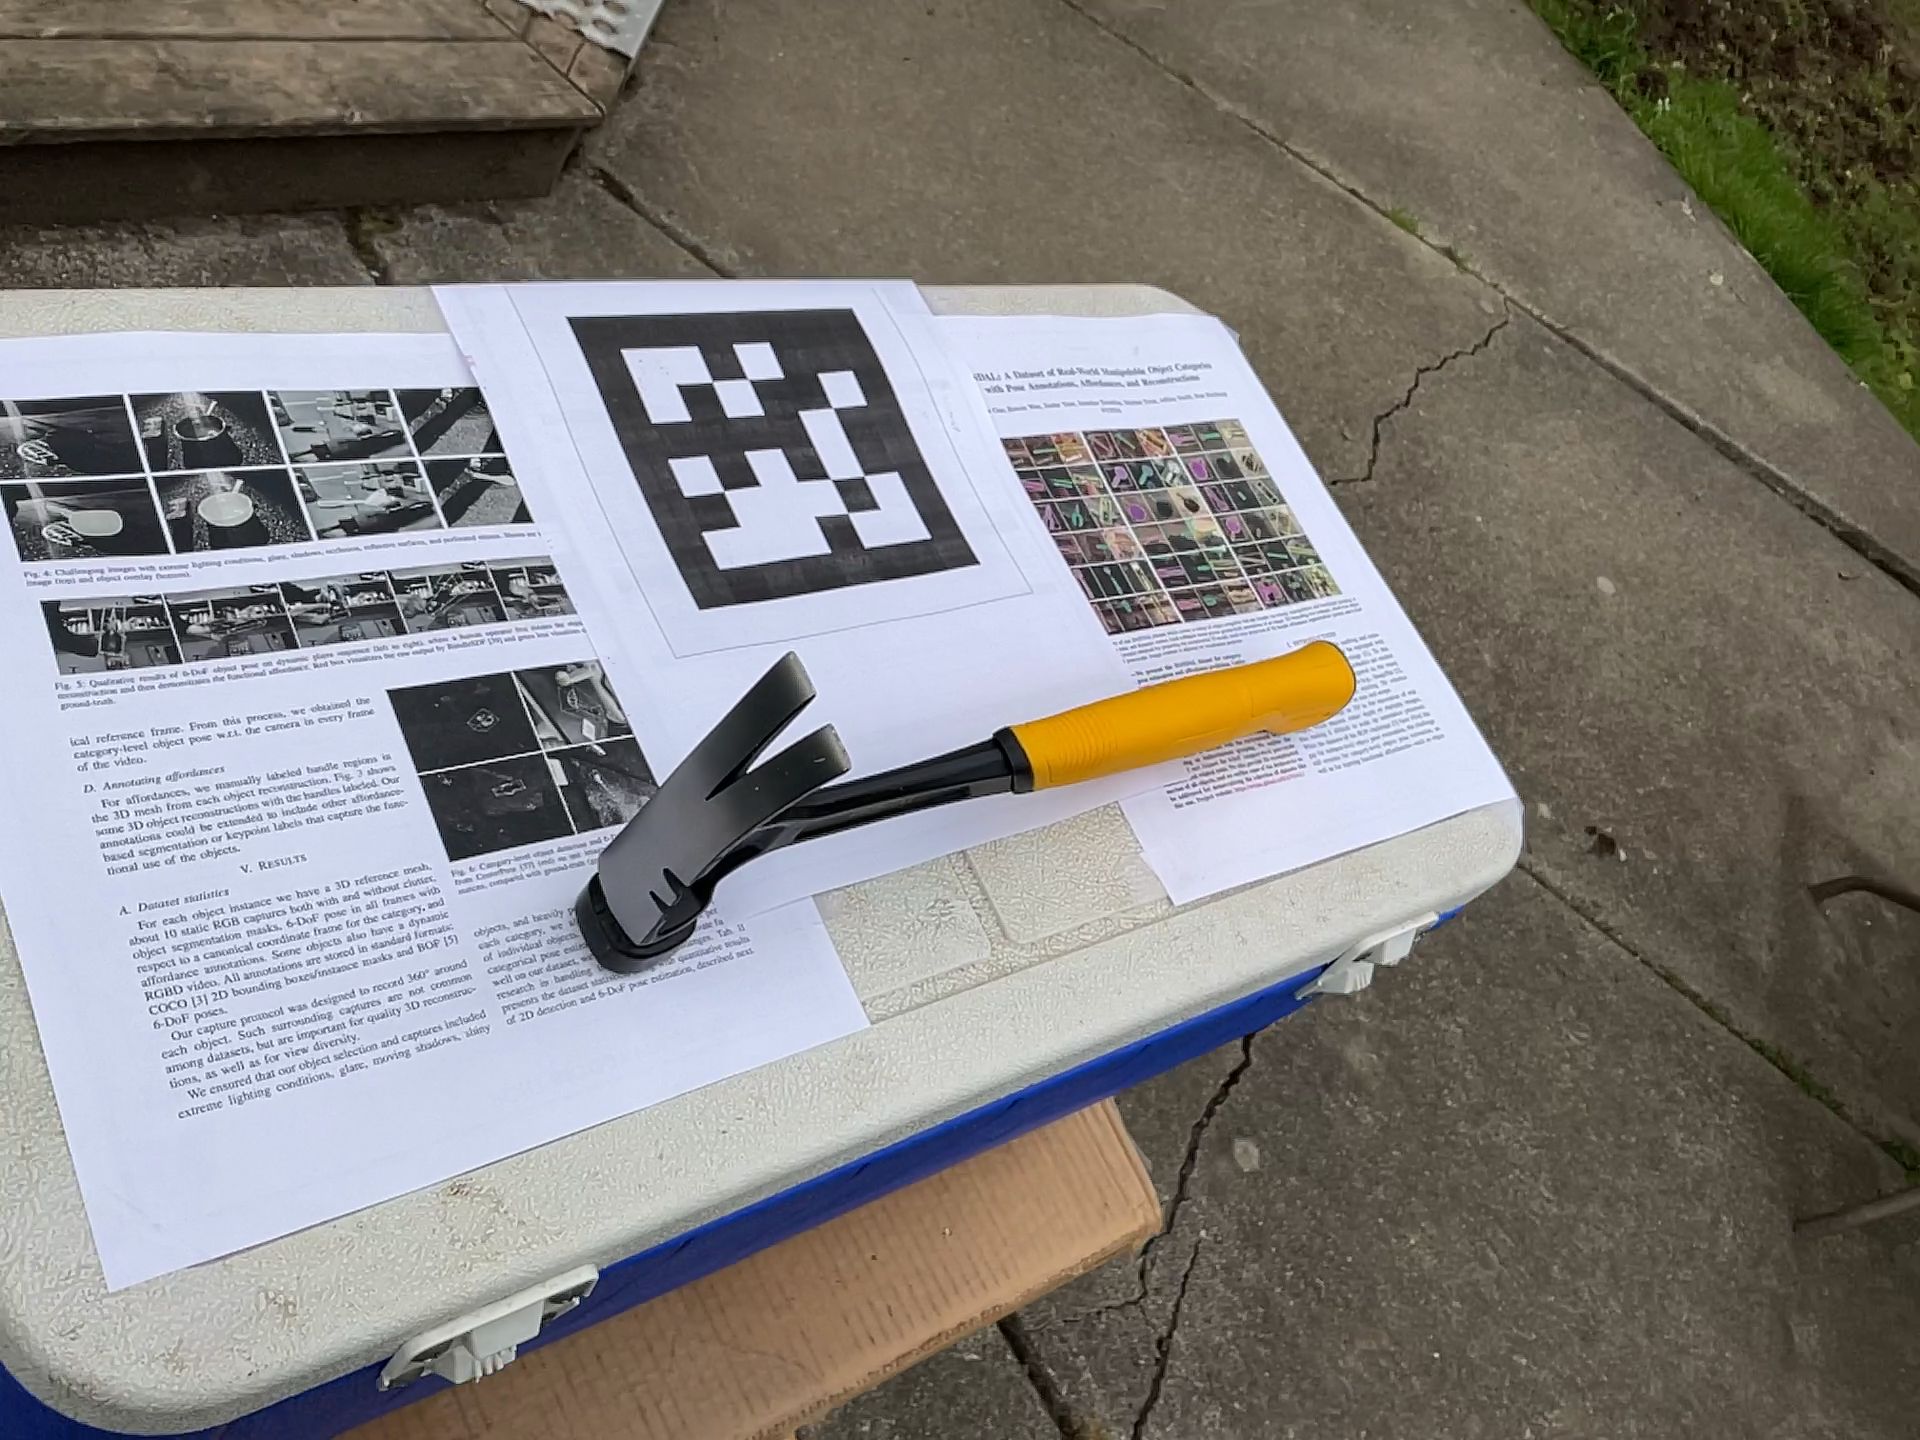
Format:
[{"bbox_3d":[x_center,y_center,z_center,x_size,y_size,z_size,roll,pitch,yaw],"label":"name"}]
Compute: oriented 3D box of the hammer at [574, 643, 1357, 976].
[{"bbox_3d":[0.039,0.006,0.542,0.336,0.127,0.034,-12,67,-44],"label":"hammer"}]
